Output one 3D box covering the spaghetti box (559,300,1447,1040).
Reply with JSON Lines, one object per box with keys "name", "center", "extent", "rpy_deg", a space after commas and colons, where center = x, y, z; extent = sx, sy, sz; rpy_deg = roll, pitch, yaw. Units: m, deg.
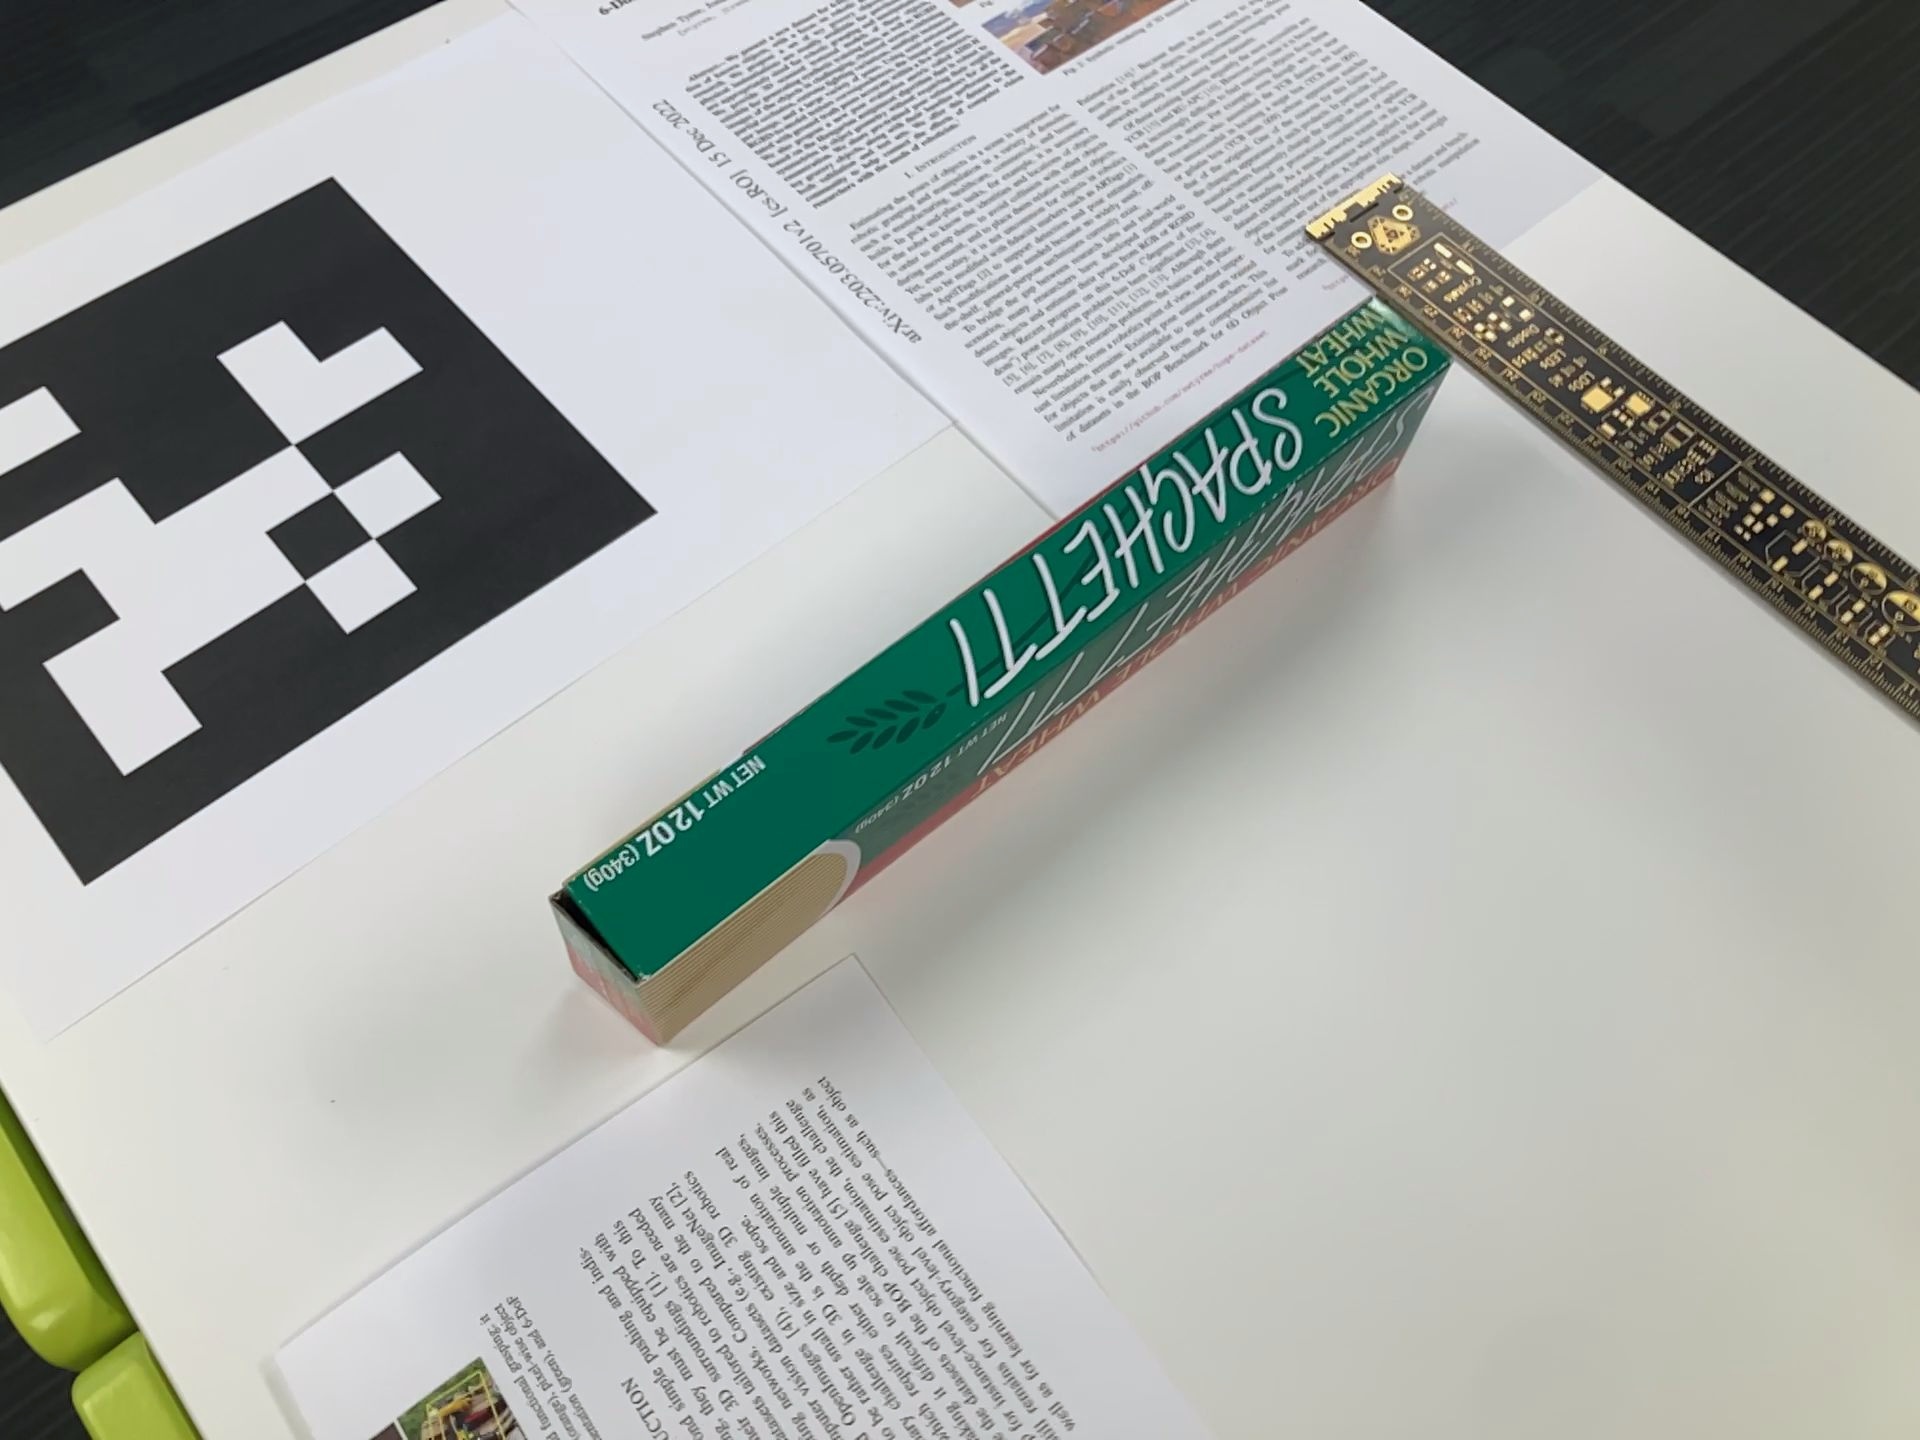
{"name": "spaghetti box", "center": [0.019, -0.018, 0.376], "extent": [0.250, 0.050, 0.028], "rpy_deg": [-37, 73, -20]}
